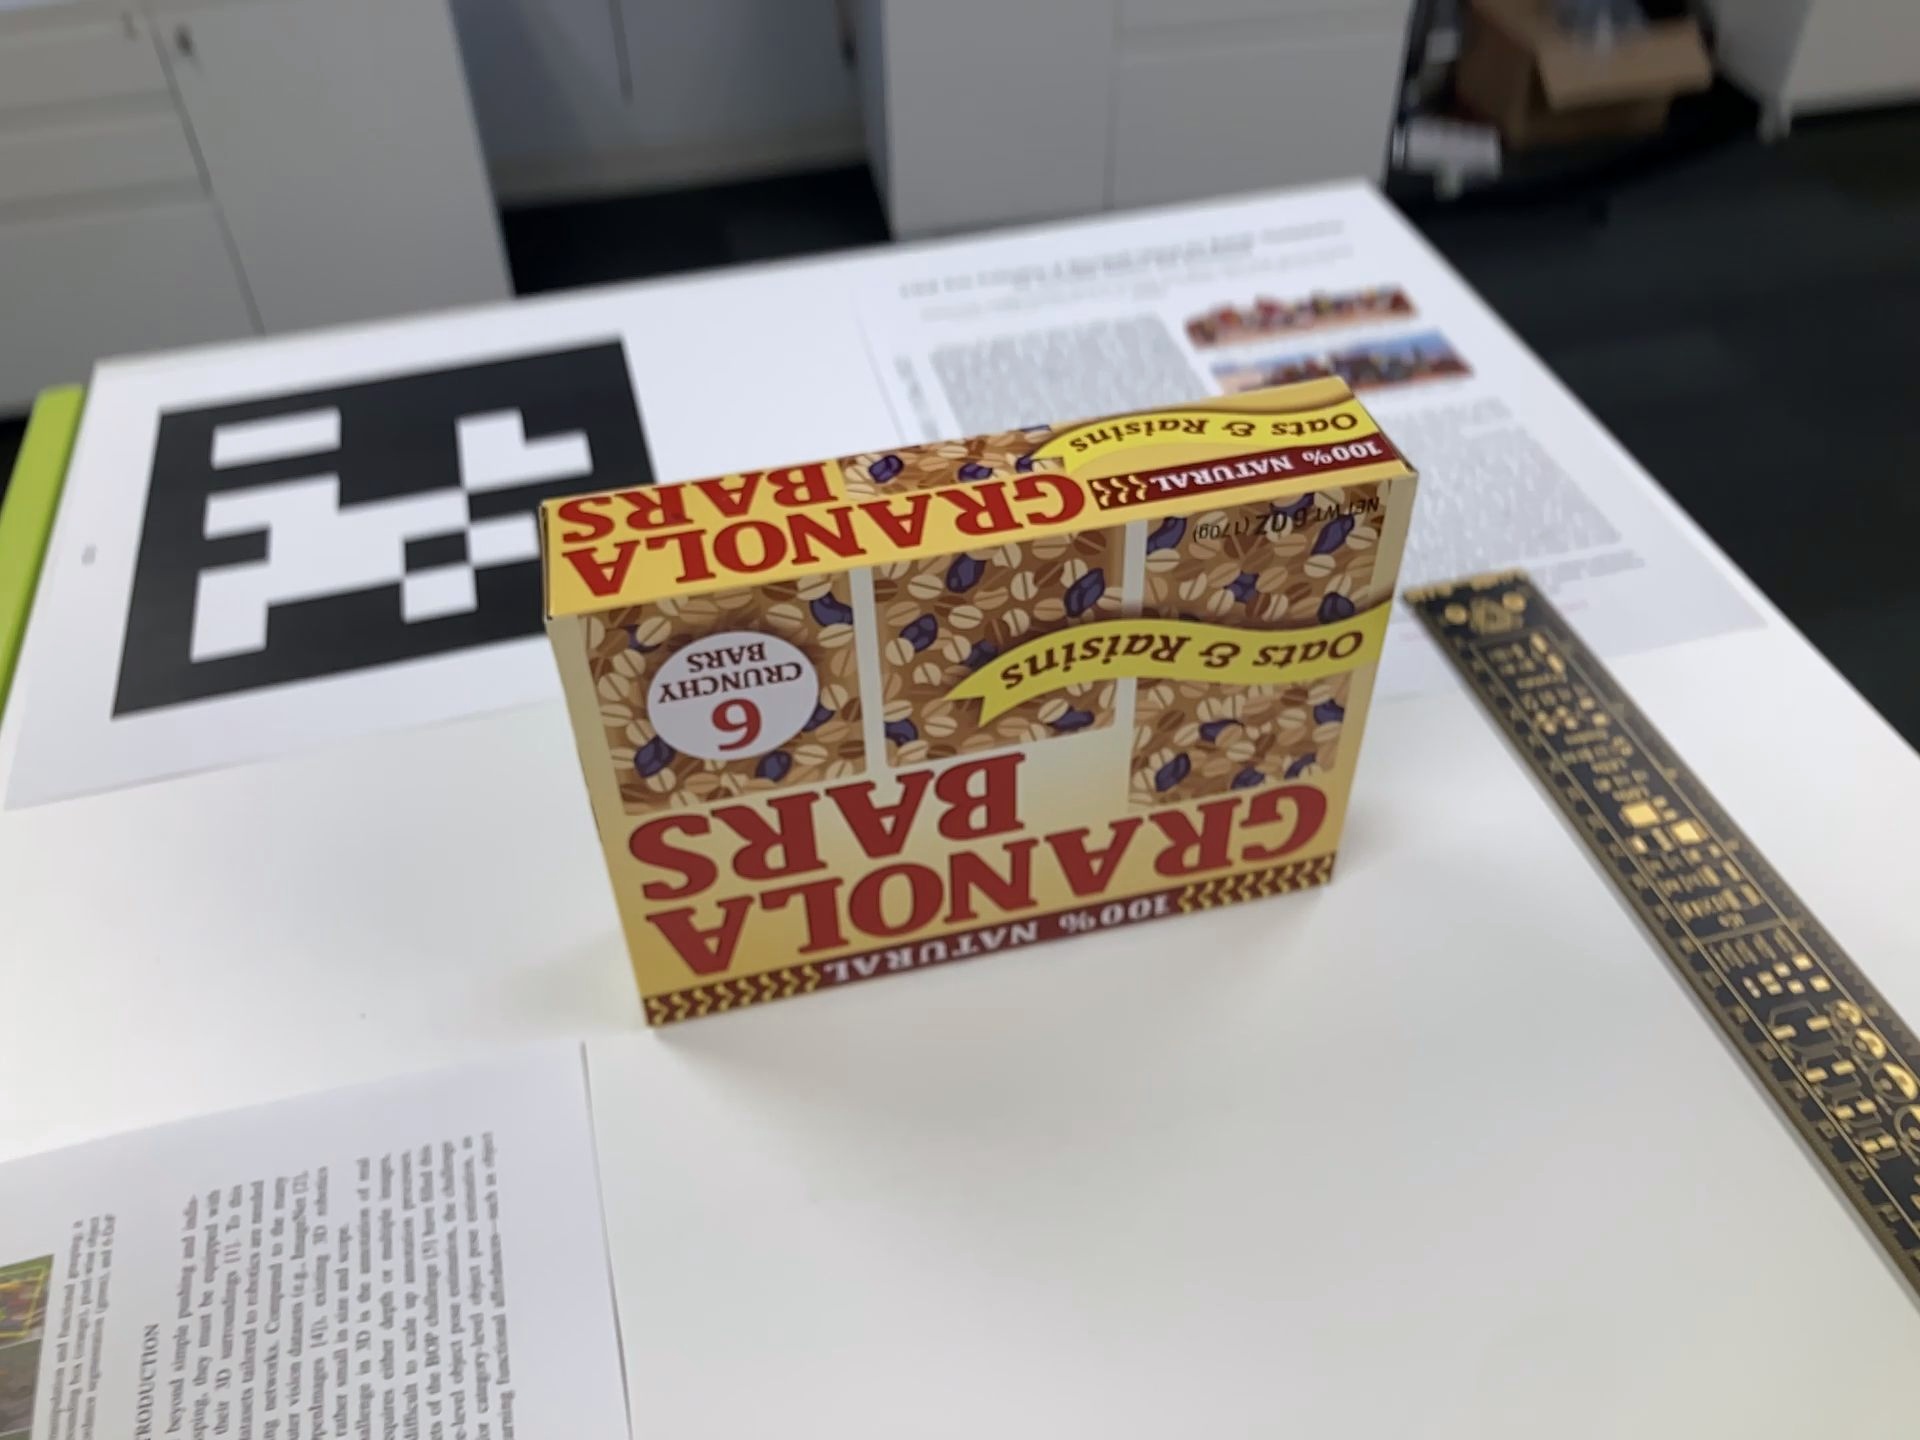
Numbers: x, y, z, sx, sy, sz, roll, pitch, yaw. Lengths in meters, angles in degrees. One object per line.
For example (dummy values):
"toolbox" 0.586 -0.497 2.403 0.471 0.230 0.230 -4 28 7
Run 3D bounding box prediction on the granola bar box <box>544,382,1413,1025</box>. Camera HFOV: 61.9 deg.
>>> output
"granola bar box" 0.004 -0.001 0.350 0.165 0.124 0.039 -10 44 -9
